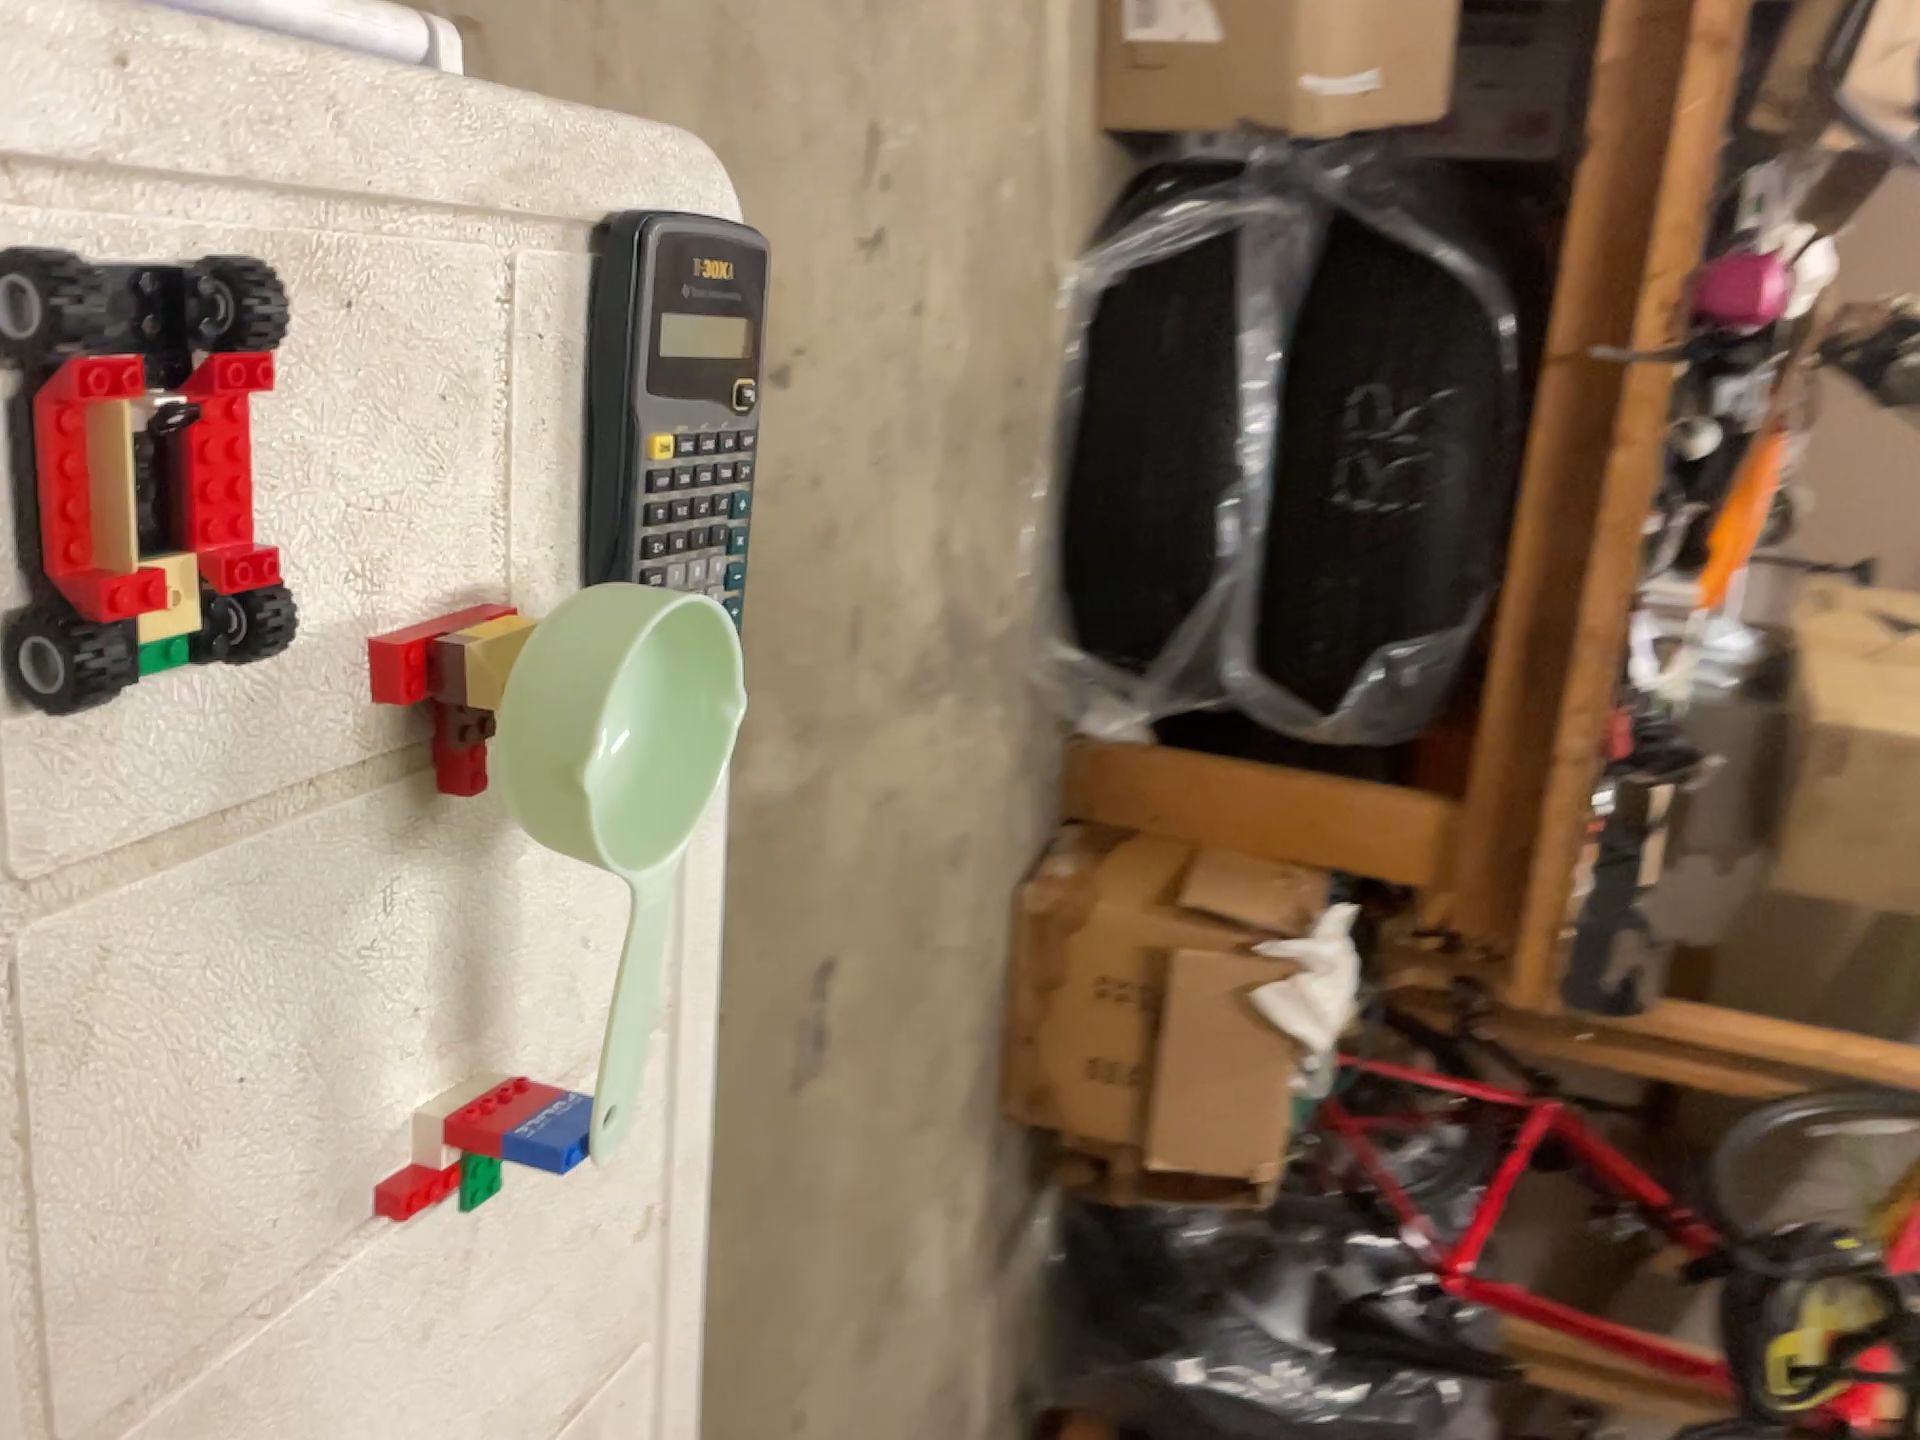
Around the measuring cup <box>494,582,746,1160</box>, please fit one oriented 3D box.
[{"bbox_3d":[-0.098,0.043,0.436,0.083,0.038,0.167,-37,140,-66],"label":"measuring cup"}]
